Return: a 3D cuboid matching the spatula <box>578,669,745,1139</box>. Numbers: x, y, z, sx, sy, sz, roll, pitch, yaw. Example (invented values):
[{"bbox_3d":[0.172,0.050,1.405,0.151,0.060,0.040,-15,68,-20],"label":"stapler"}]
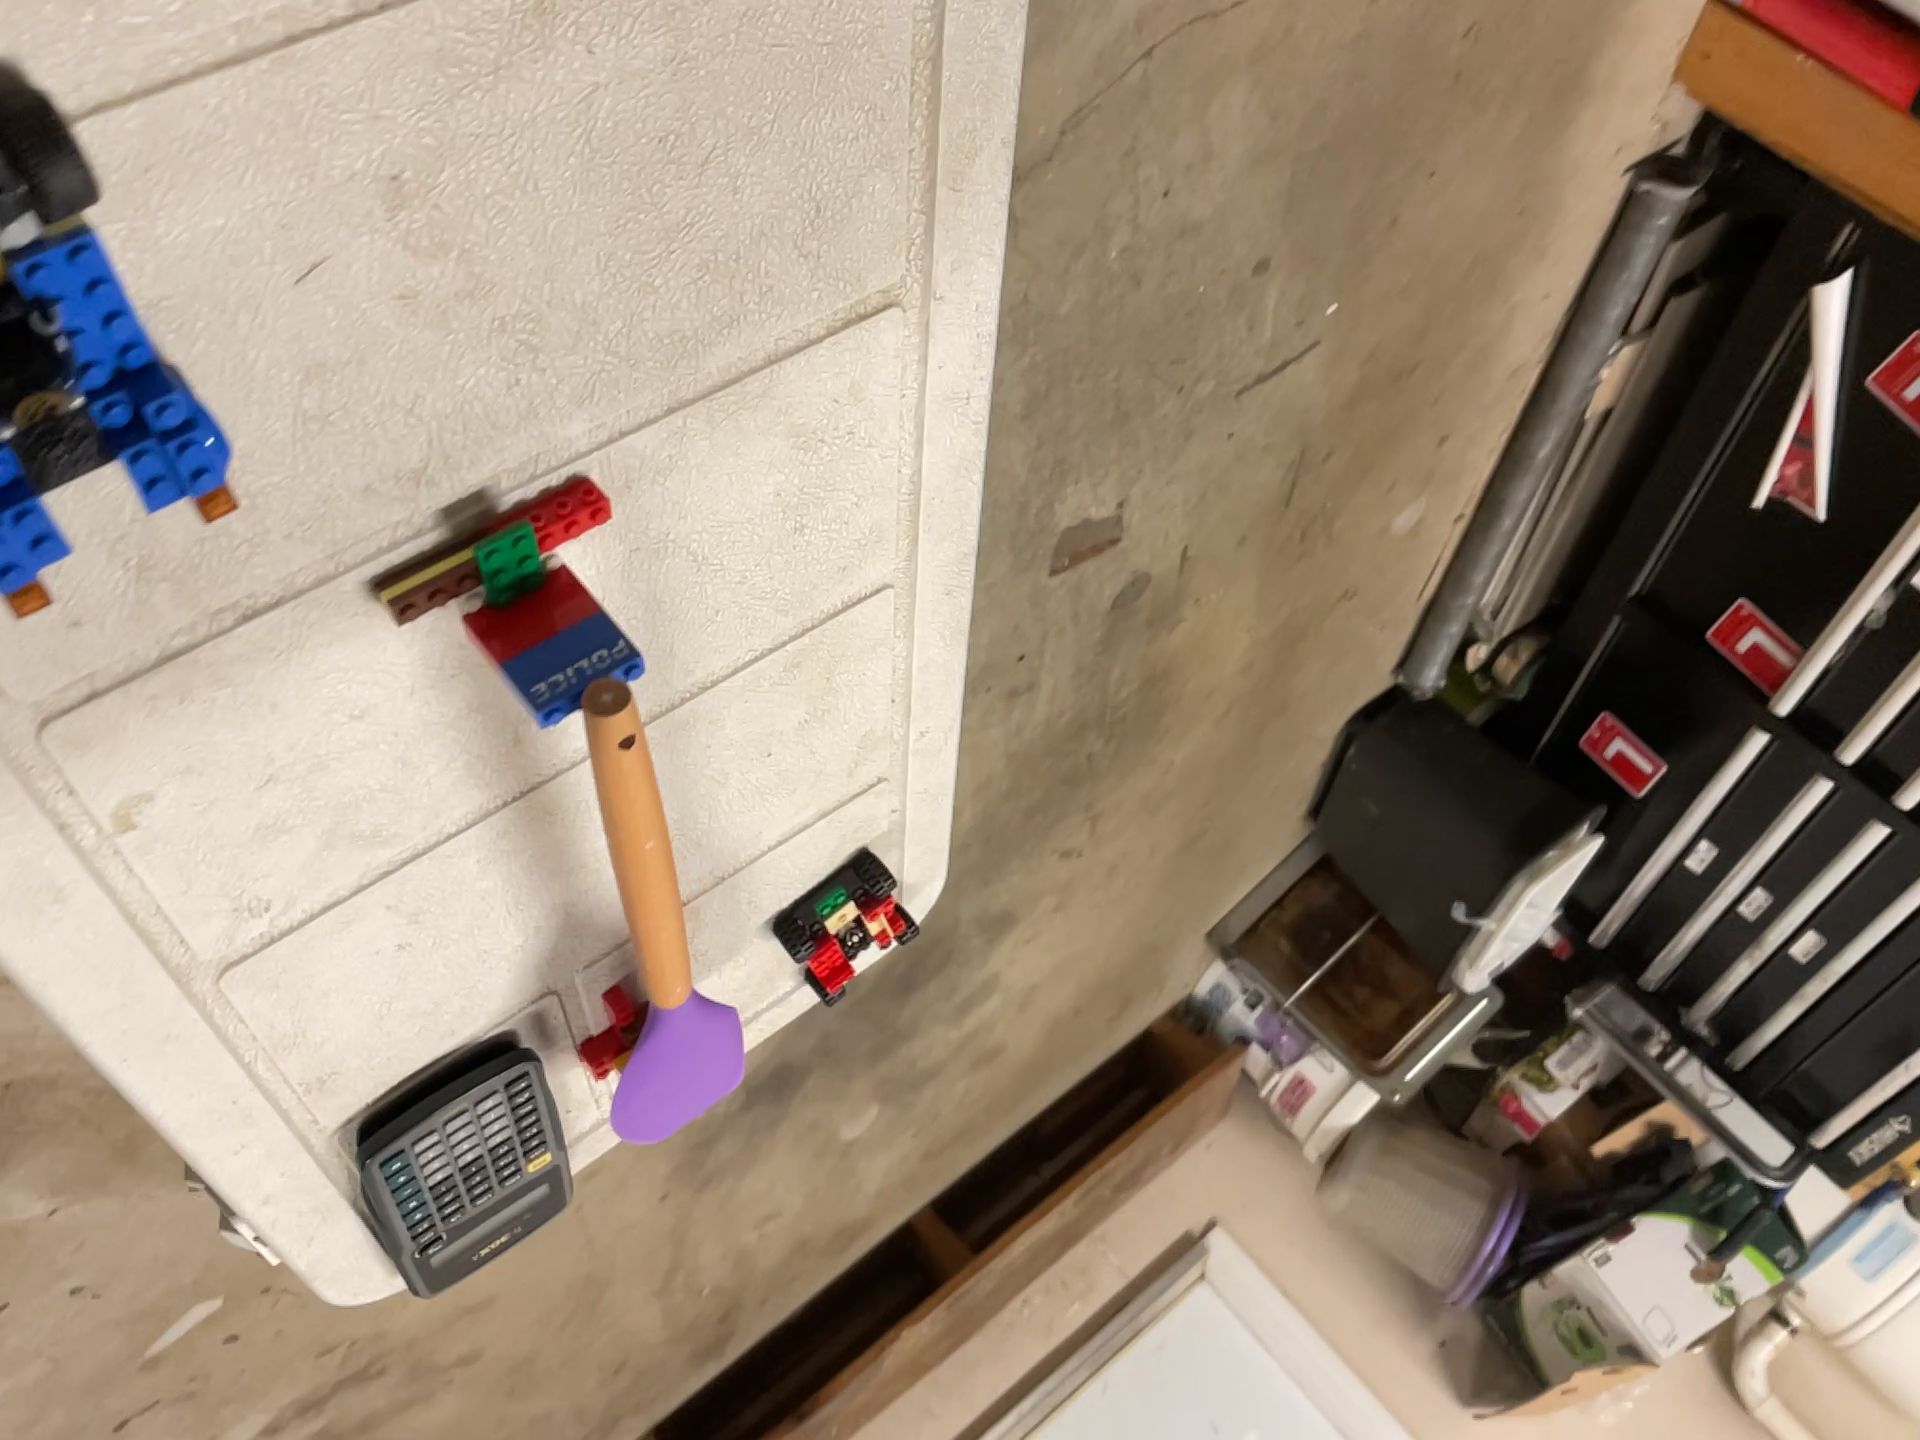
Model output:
[{"bbox_3d":[-0.102,0.079,0.536,0.060,0.018,0.315,-33,155,-24],"label":"spatula"}]
